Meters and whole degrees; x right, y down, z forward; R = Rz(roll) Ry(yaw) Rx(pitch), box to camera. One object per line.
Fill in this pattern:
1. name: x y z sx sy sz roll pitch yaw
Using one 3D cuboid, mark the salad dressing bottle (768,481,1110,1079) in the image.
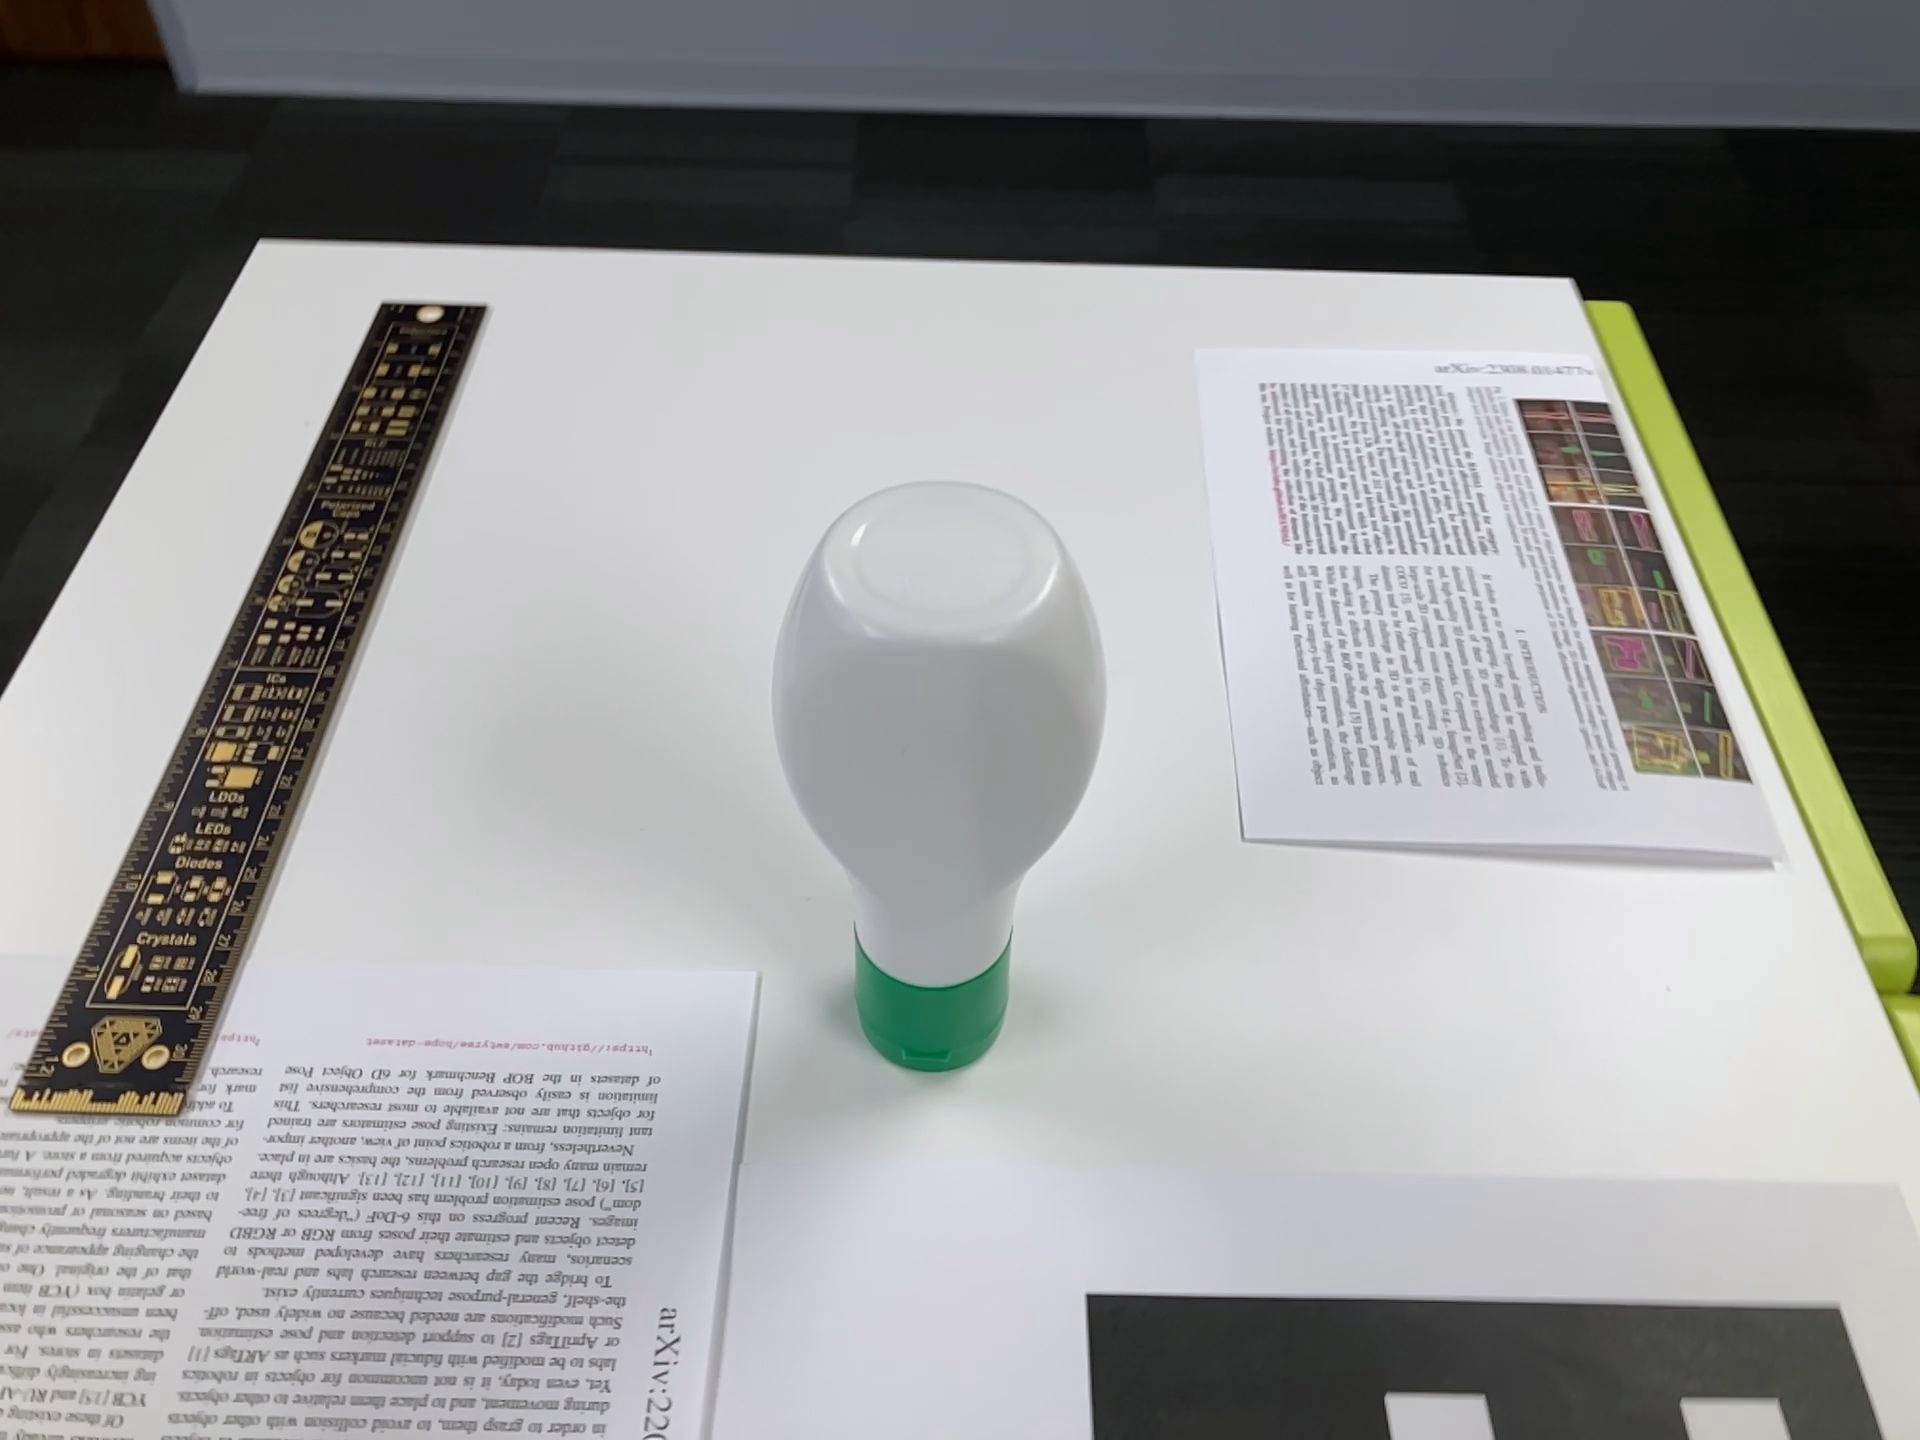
1. salad dressing bottle: -0.005 0.021 0.327 0.064 0.147 0.044 3 47 1
